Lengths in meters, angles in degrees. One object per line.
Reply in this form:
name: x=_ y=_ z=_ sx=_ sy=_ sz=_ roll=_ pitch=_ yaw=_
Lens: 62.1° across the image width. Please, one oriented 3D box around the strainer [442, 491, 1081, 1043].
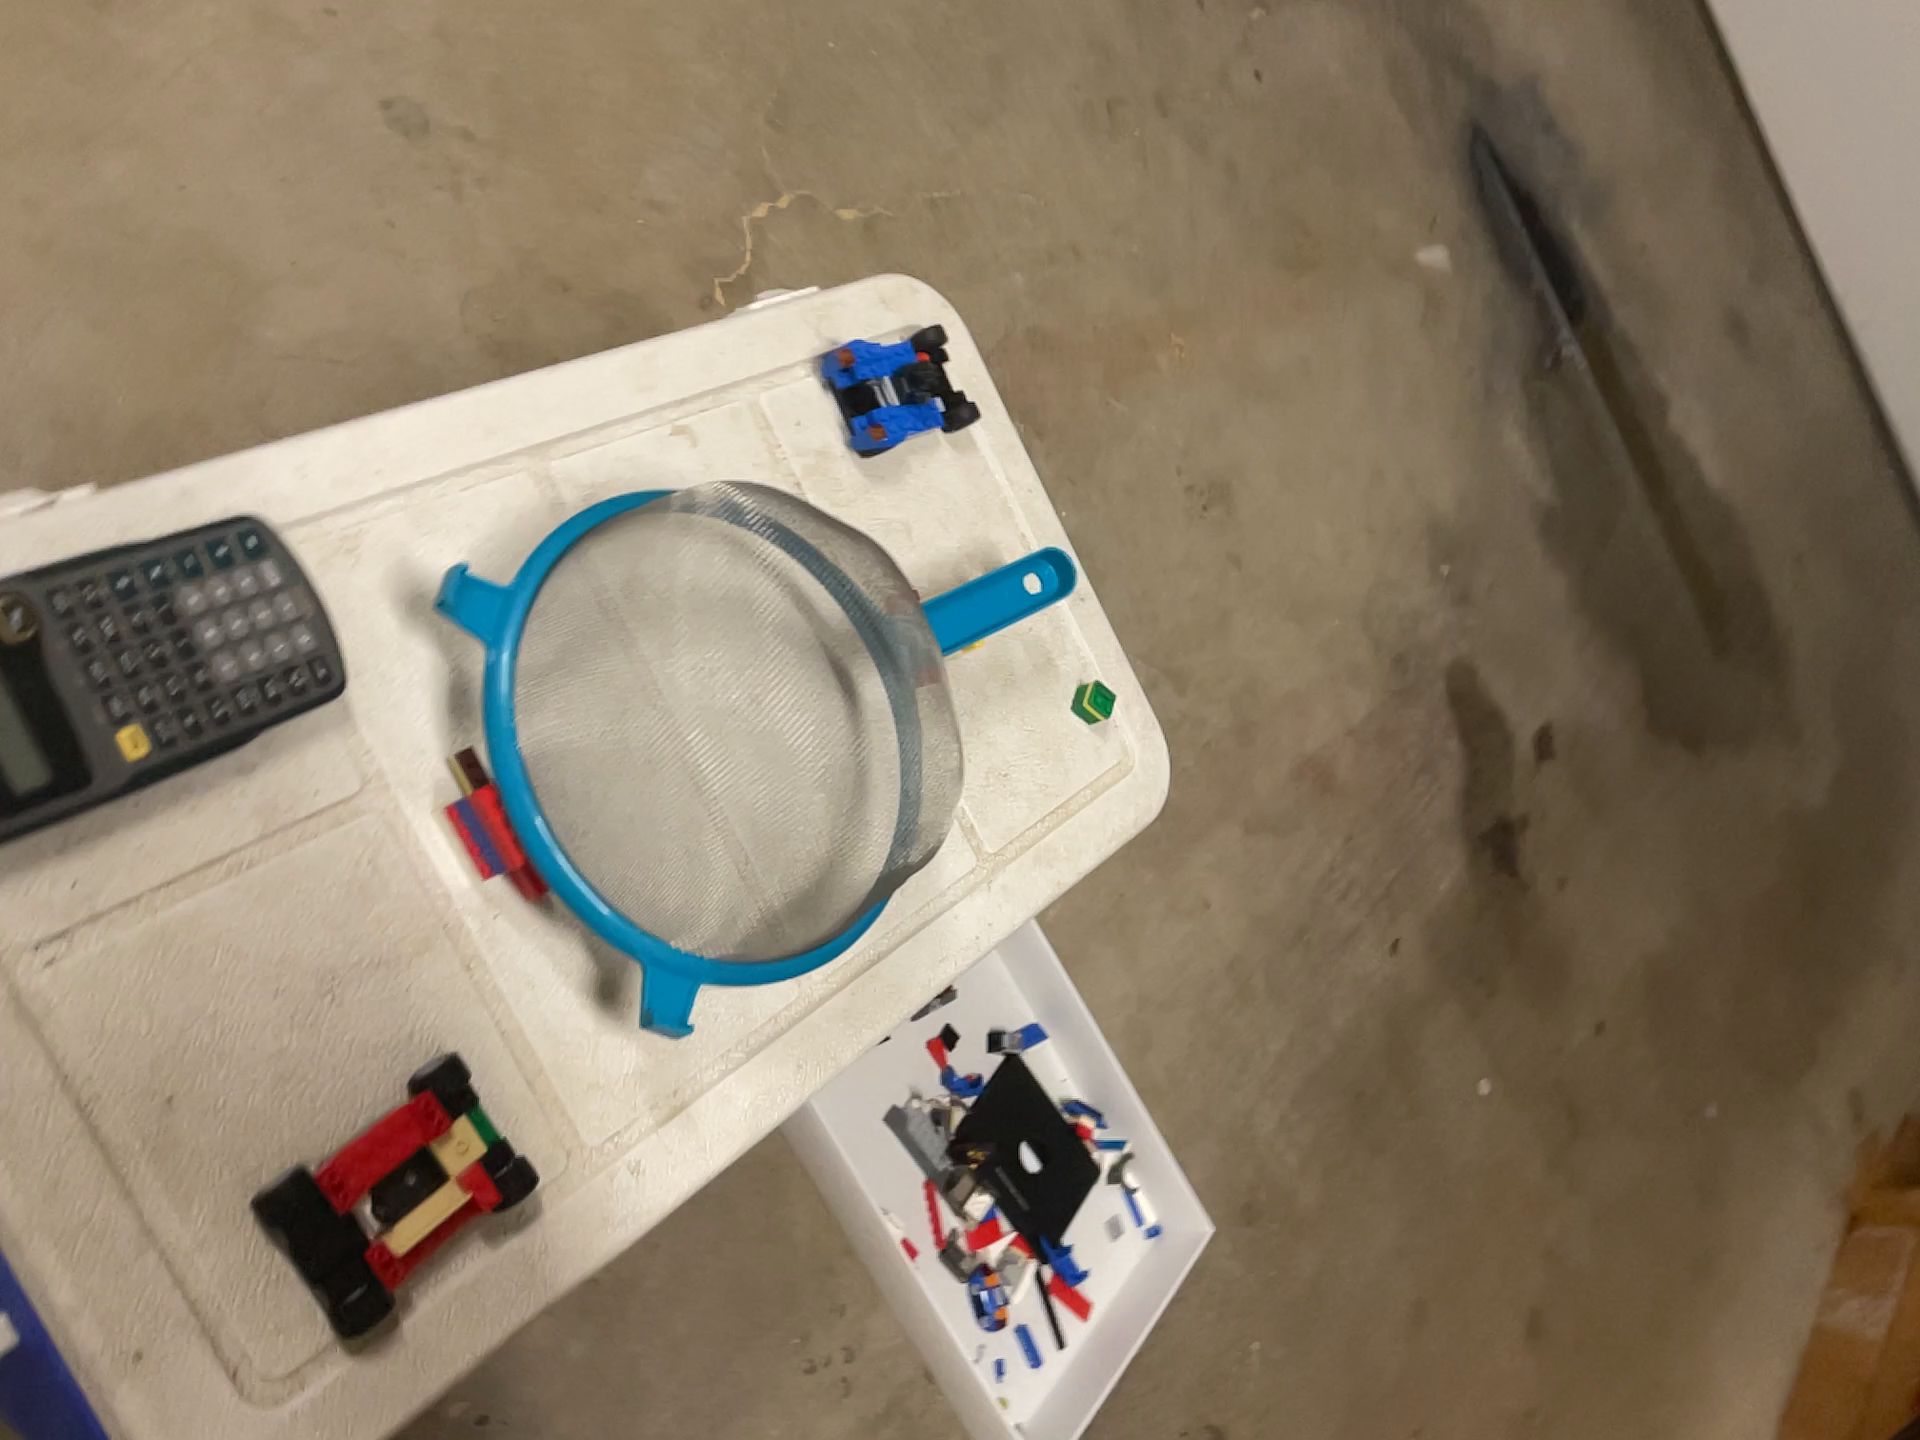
strainer: x=-0.029 y=-0.027 z=0.675 sx=0.341 sy=0.095 sz=0.211 roll=-29 pitch=96 yaw=-44
